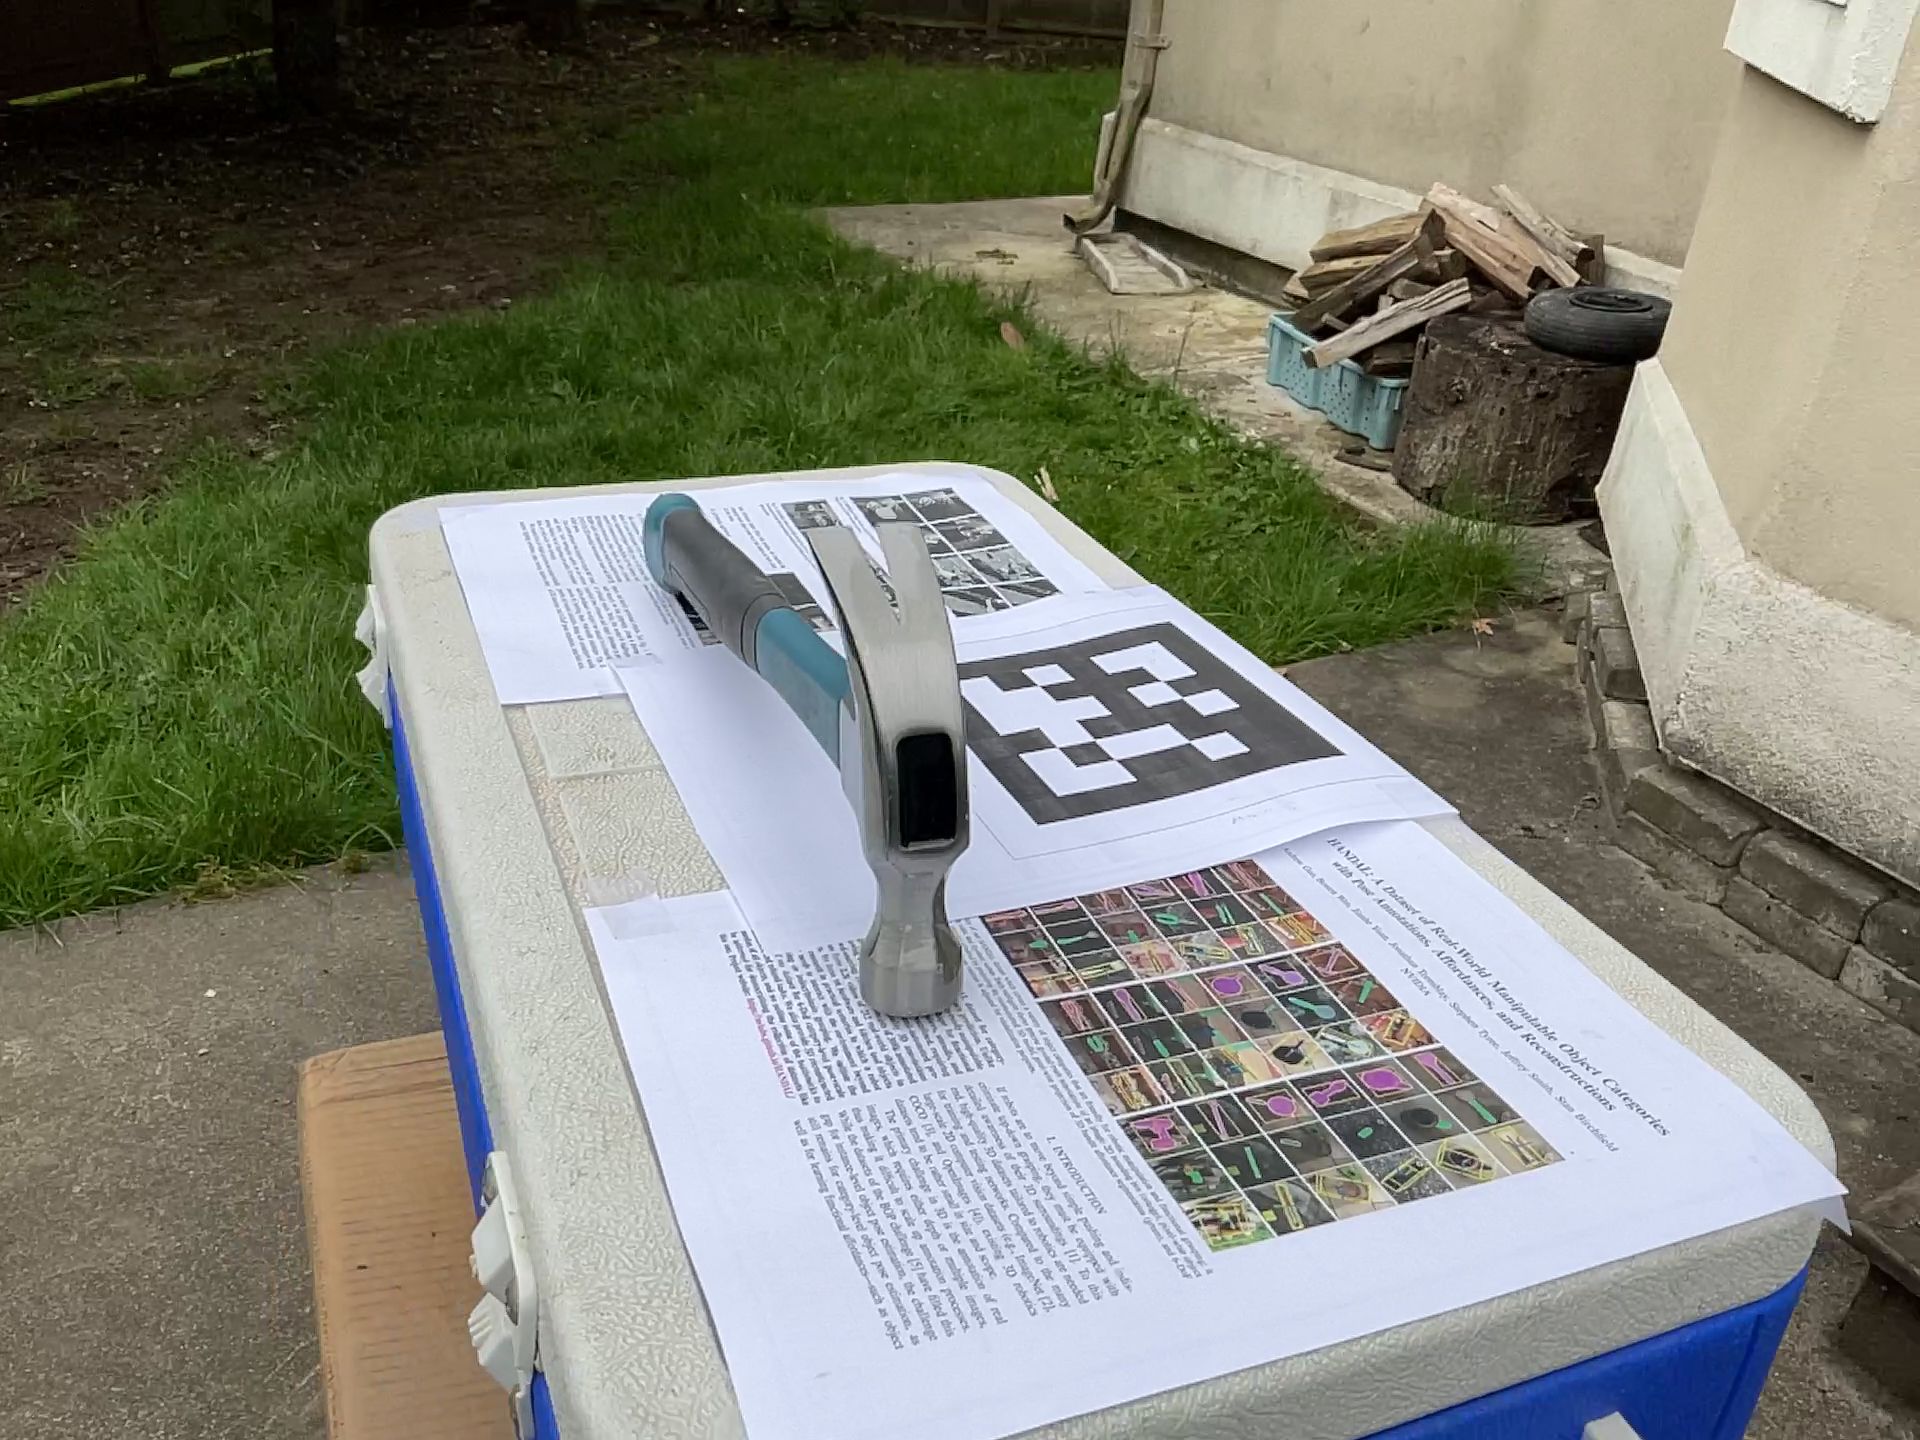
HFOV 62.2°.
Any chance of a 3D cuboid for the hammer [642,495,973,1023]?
[{"bbox_3d":[-0.067,-0.027,0.562,0.033,0.128,0.331,-6,20,-21],"label":"hammer"}]
